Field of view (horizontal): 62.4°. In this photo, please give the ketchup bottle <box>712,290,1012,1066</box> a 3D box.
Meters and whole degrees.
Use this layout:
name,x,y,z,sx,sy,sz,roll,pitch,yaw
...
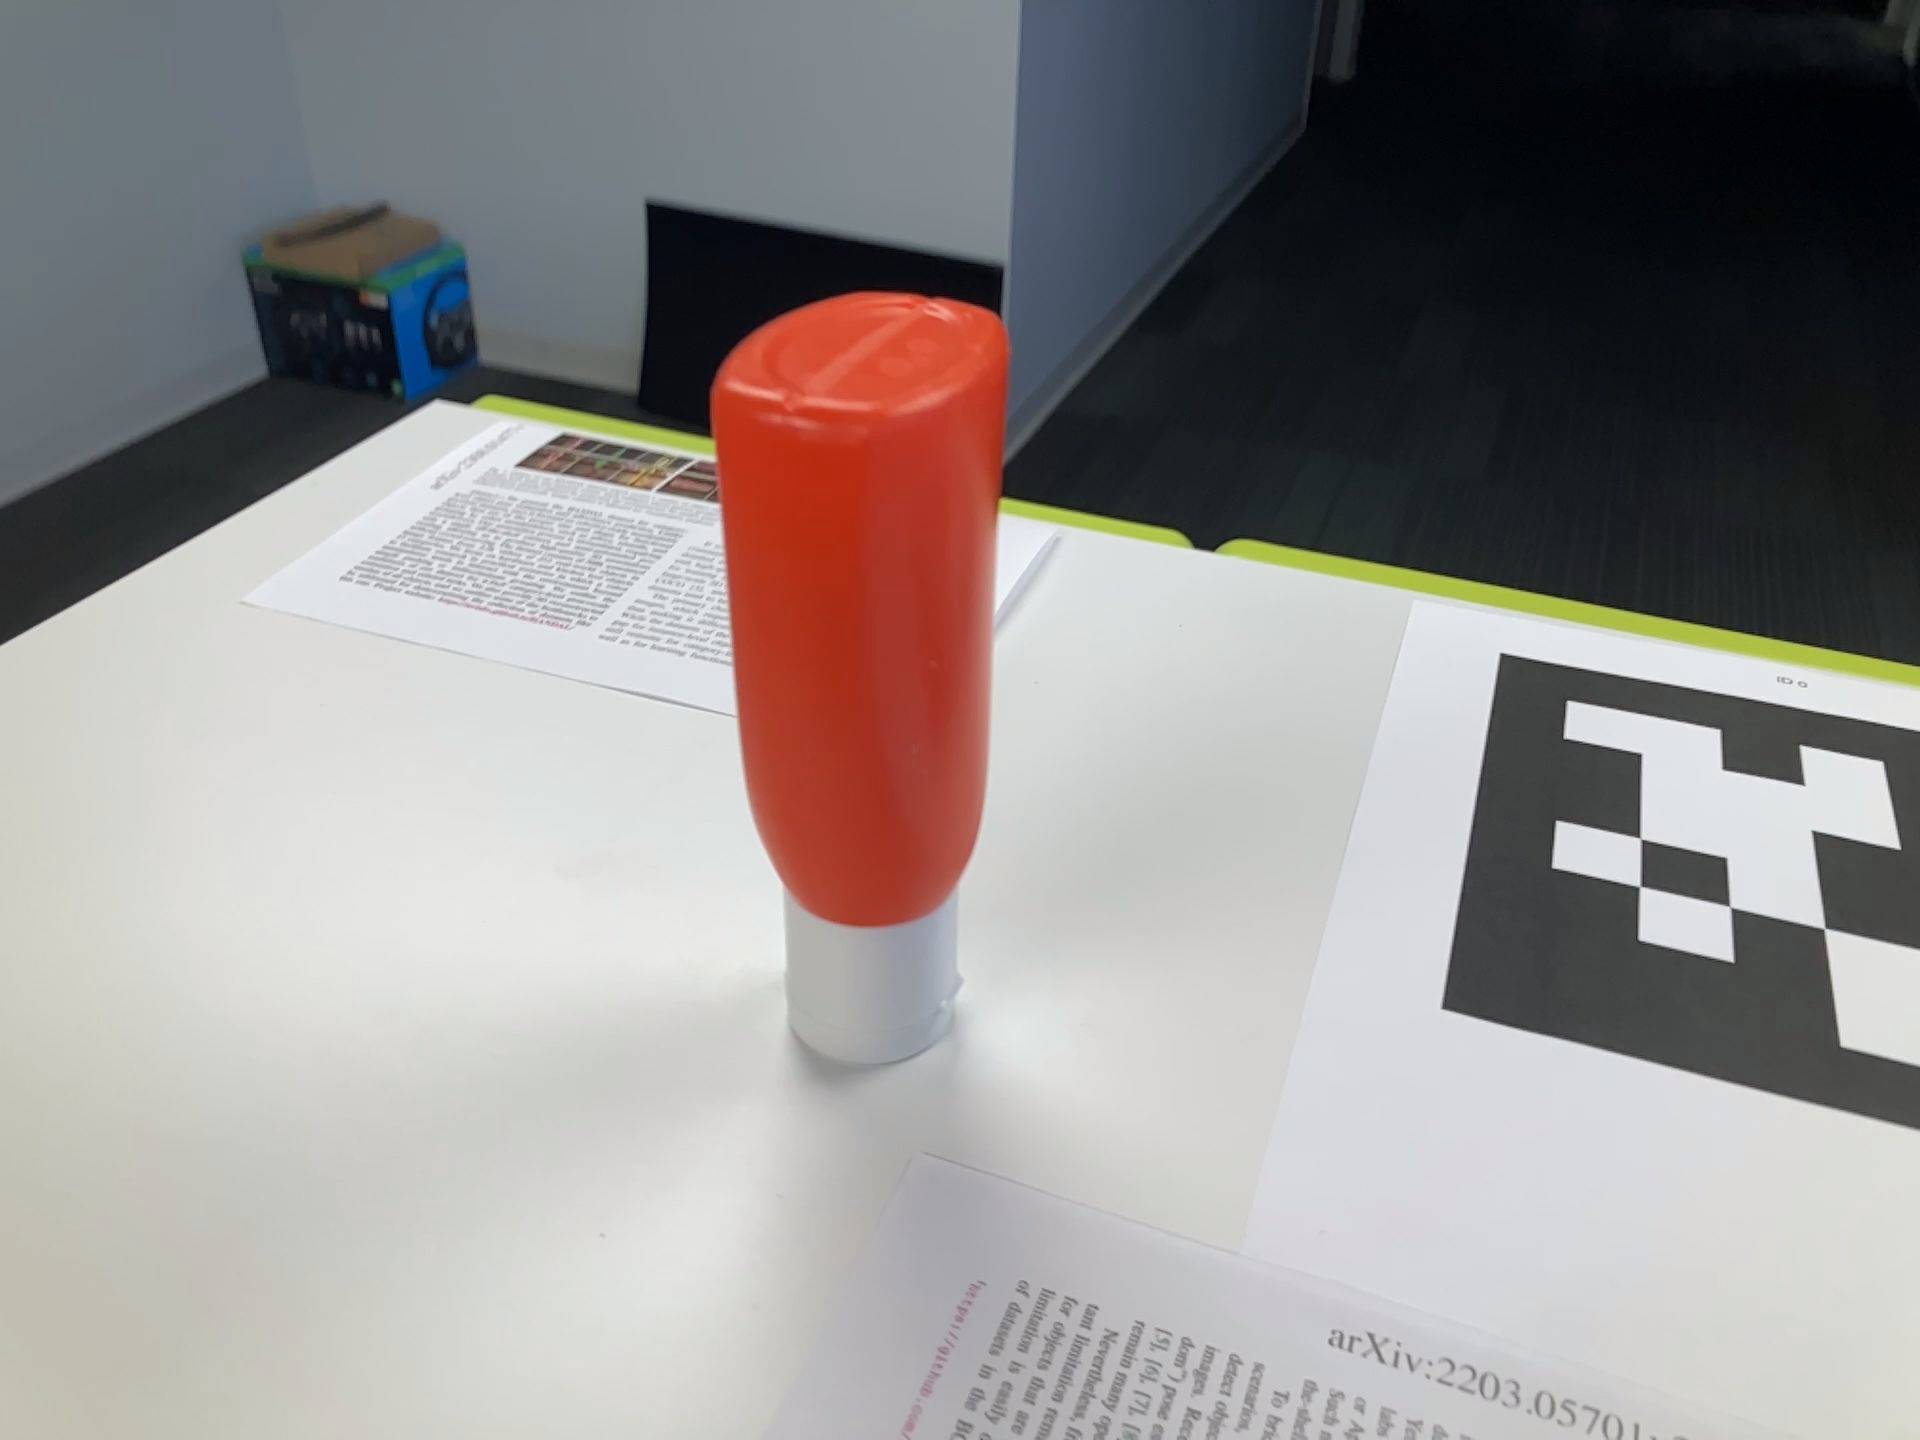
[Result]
name,x,y,z,sx,sy,sz,roll,pitch,yaw
ketchup bottle,-0.017,0.000,0.300,0.043,0.149,0.065,13,34,18
